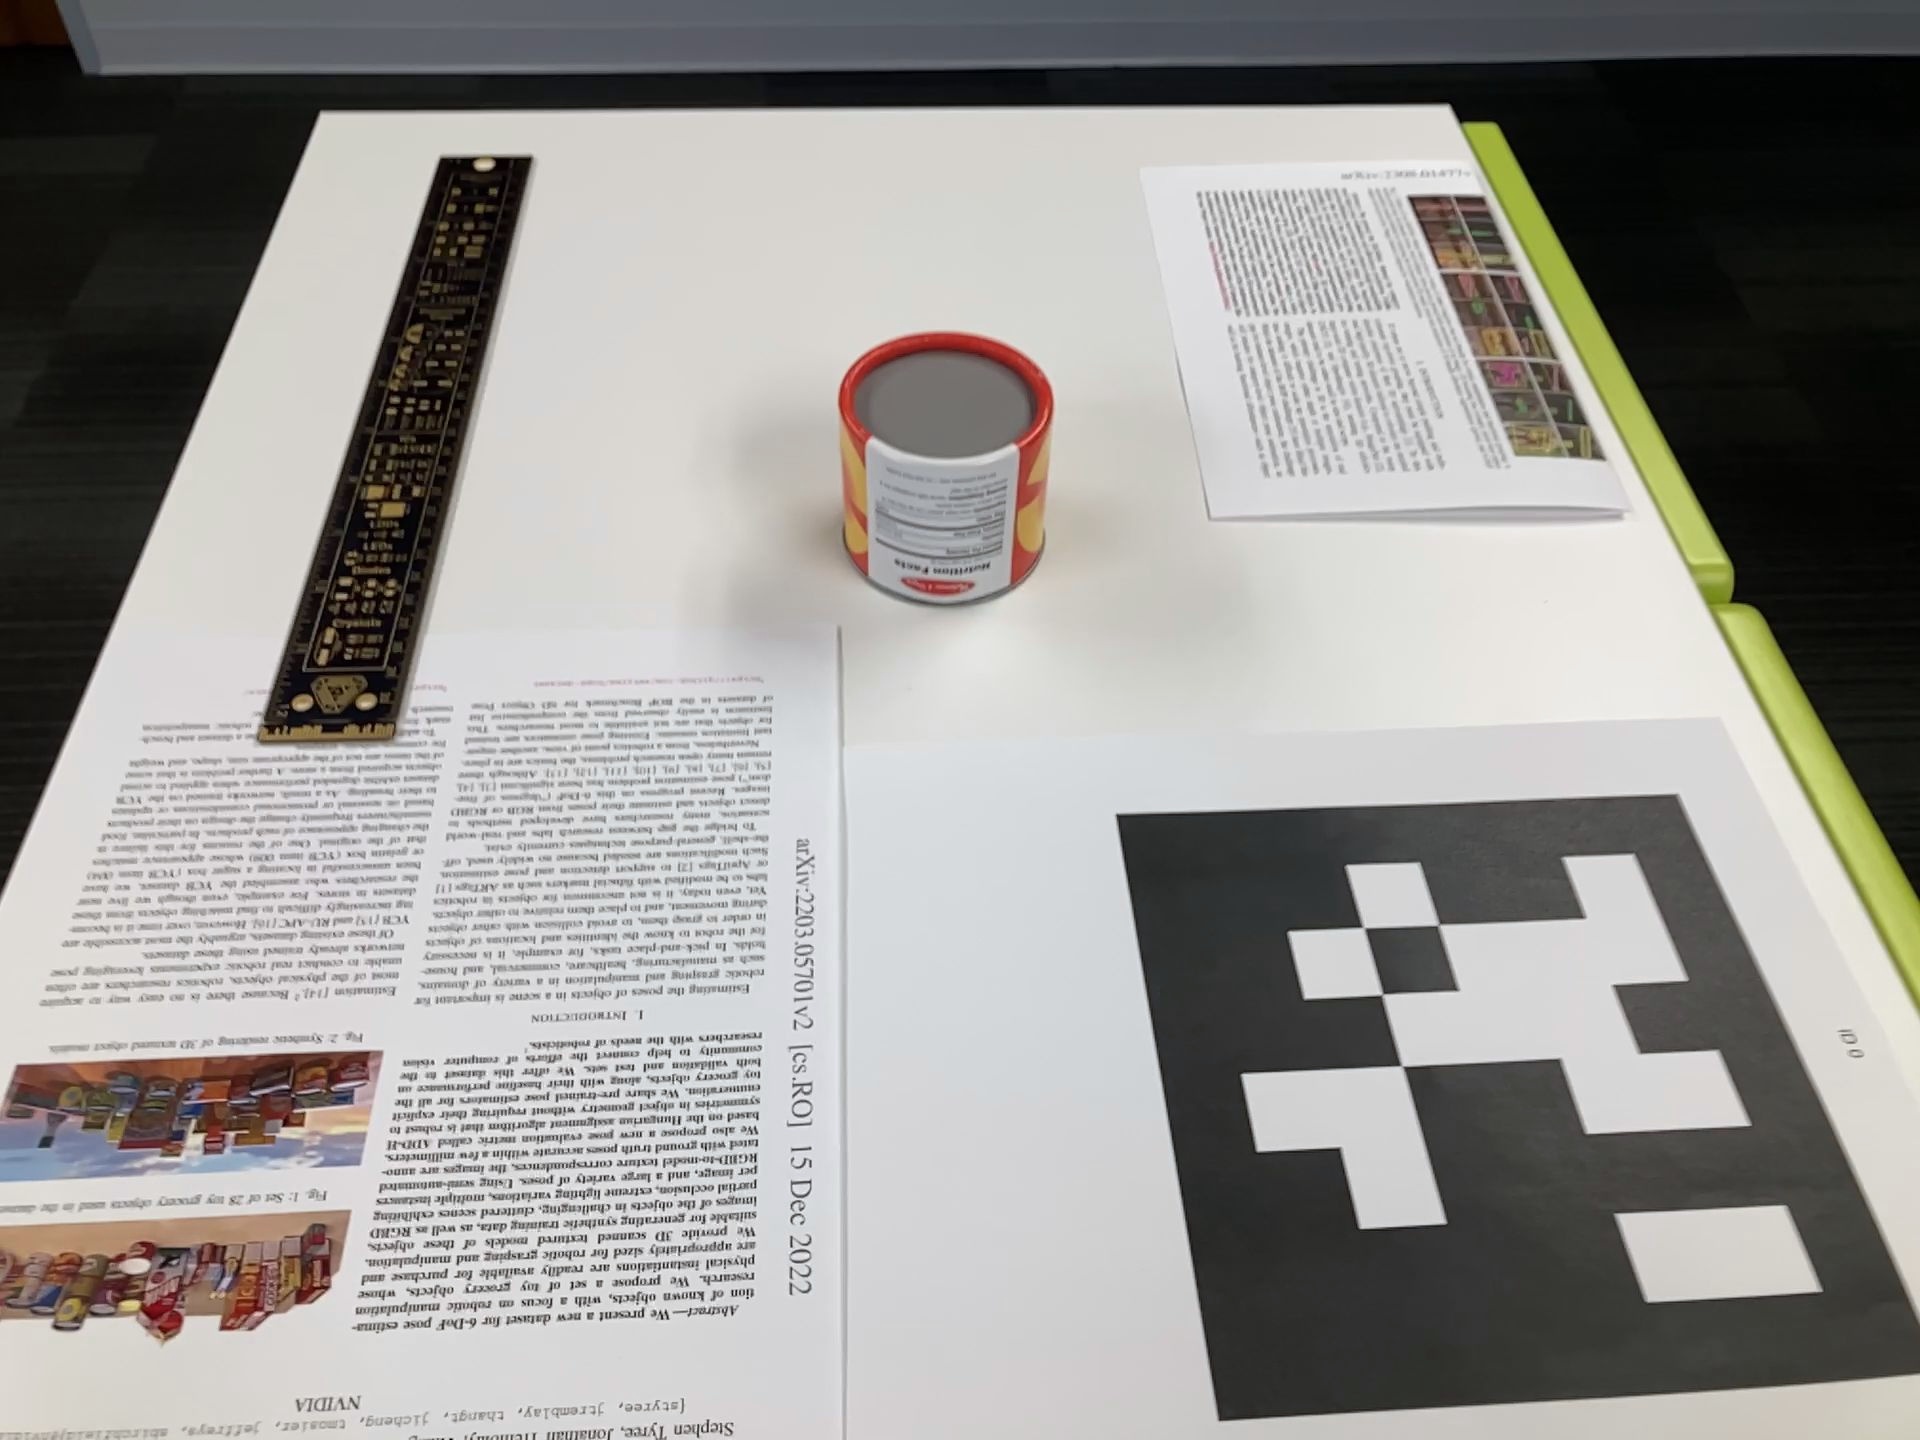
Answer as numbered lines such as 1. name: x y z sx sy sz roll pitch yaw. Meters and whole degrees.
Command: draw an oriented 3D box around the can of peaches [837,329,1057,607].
1. can of peaches: -0.005 -0.080 0.492 0.071 0.058 0.071 1 50 -1
